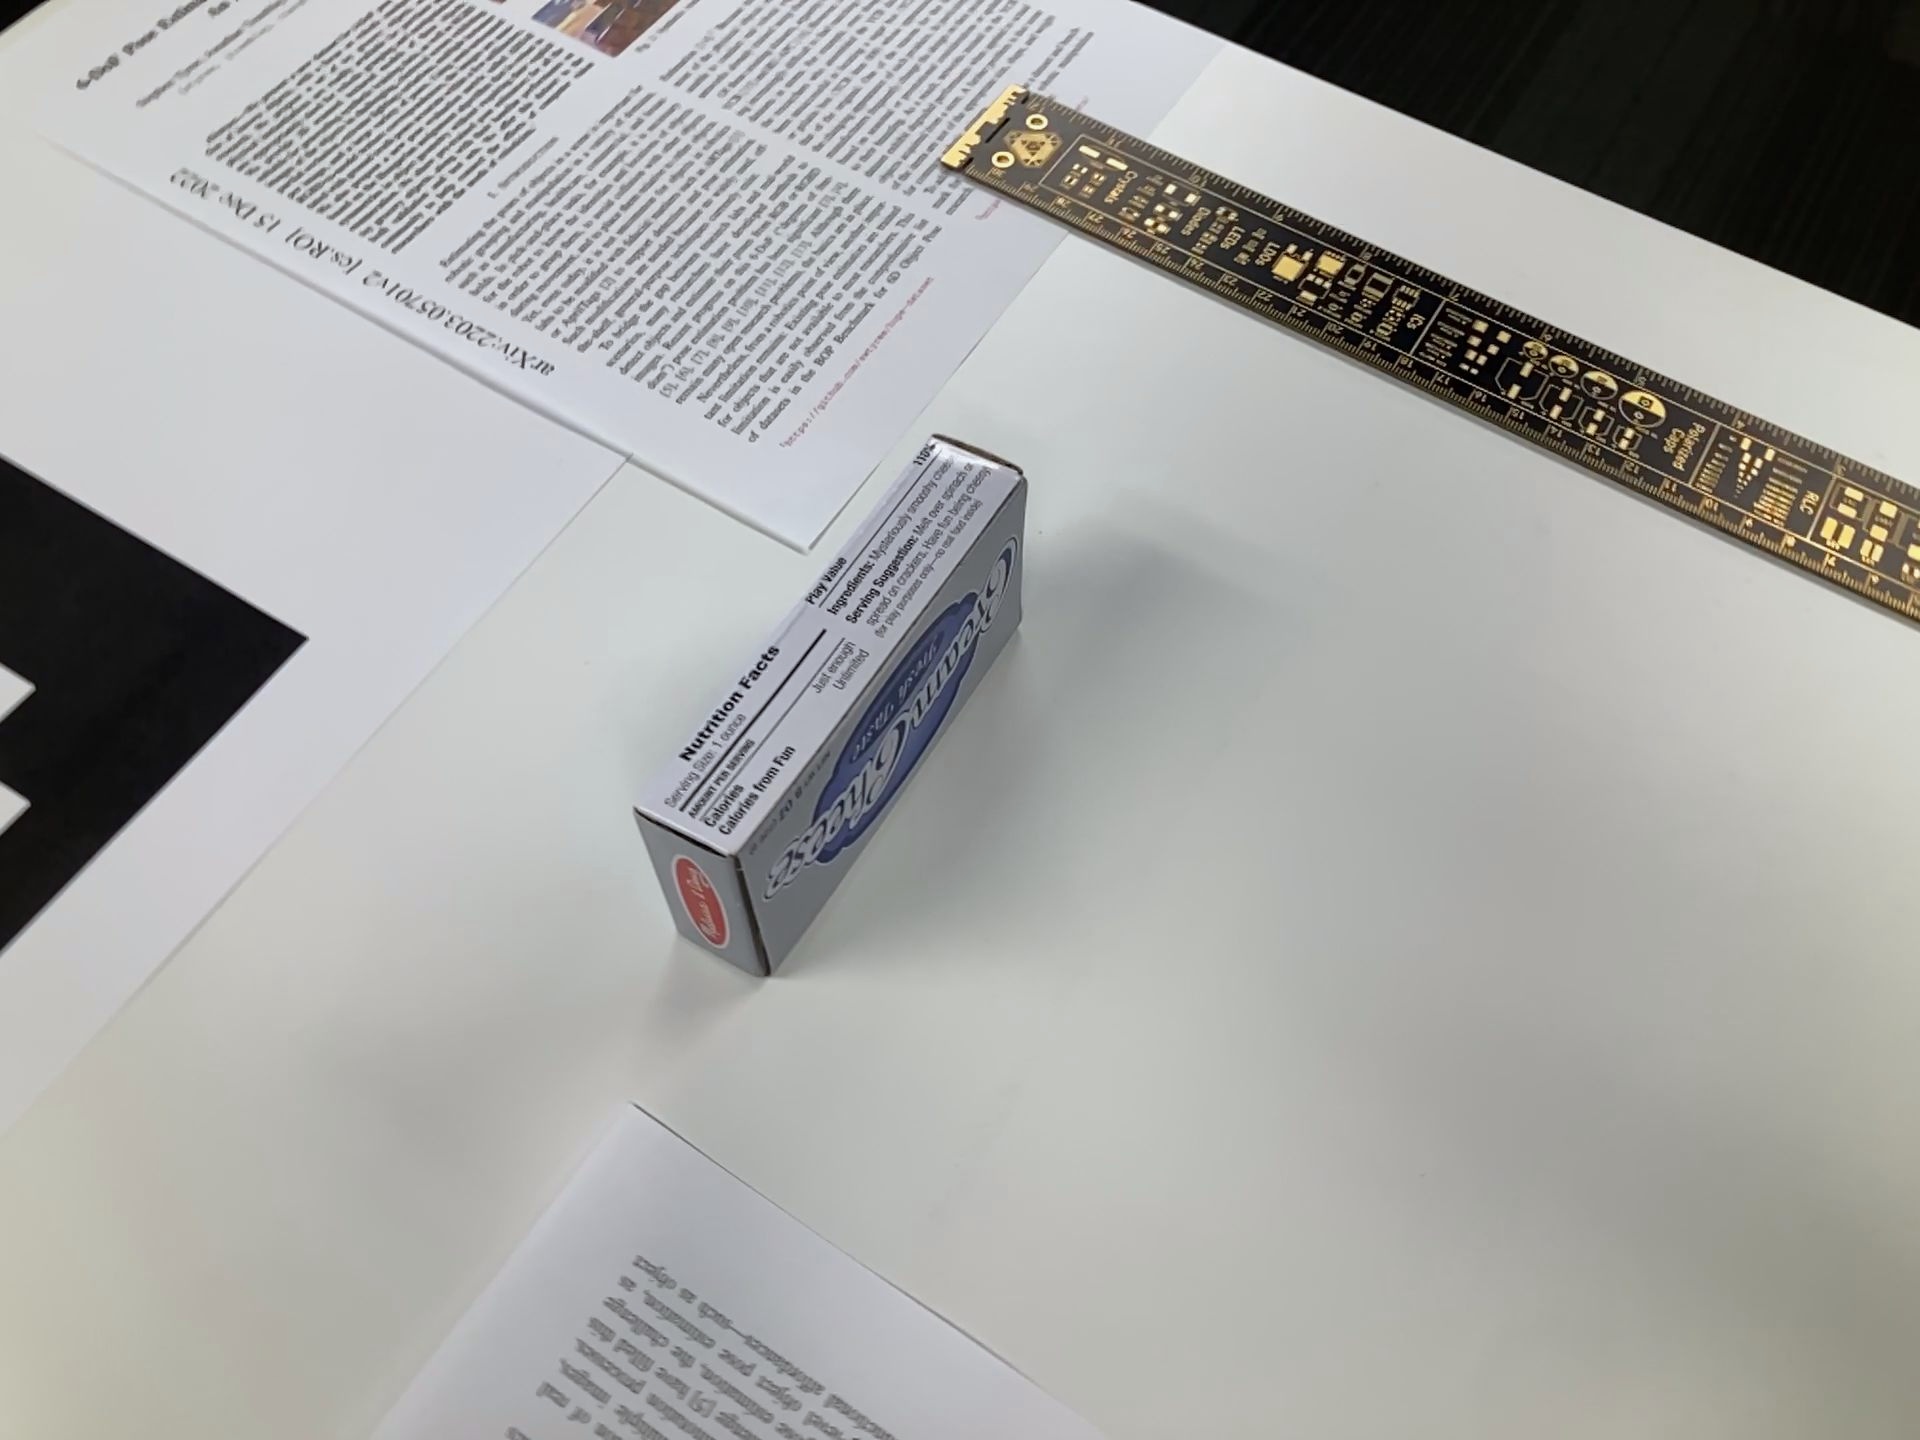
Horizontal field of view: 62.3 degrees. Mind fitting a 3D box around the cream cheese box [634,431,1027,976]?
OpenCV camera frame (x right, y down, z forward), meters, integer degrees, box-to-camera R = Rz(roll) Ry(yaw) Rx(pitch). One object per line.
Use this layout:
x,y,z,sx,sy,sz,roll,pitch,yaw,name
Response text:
-0.022,-0.004,0.318,0.024,0.053,0.104,27,62,15,cream cheese box
